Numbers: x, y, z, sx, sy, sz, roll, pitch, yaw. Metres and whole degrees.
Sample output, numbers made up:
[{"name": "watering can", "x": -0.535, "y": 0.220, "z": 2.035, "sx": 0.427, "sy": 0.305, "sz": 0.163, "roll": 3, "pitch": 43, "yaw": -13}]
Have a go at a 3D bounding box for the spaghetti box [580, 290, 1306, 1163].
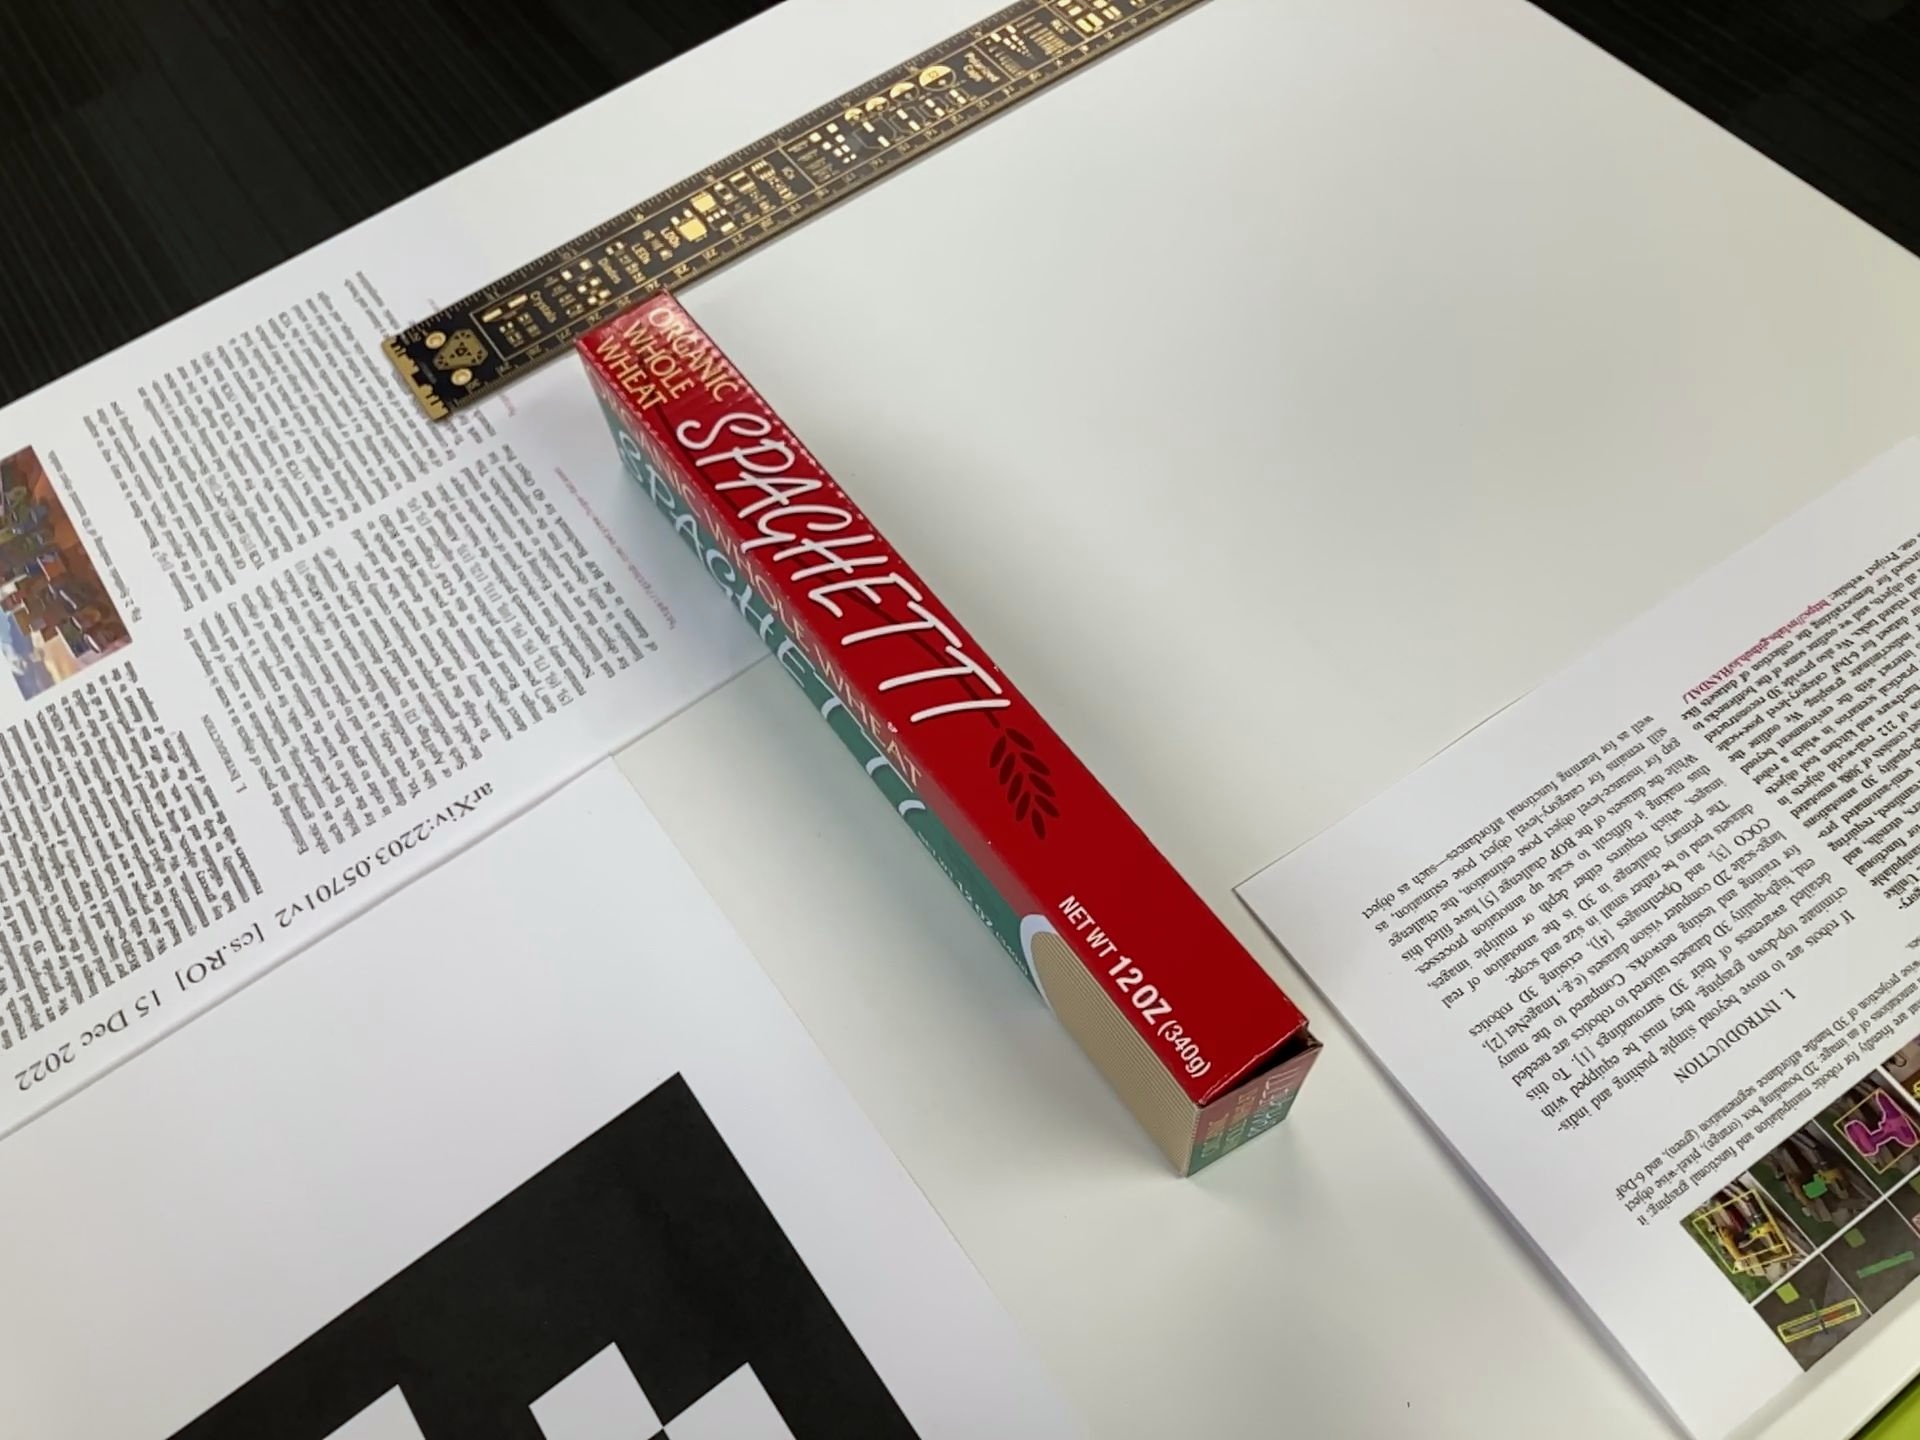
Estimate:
[{"name": "spaghetti box", "x": -0.015, "y": -0.009, "z": 0.373, "sx": 0.028, "sy": 0.050, "sz": 0.250, "roll": -33, "pitch": 62, "yaw": -15}]
